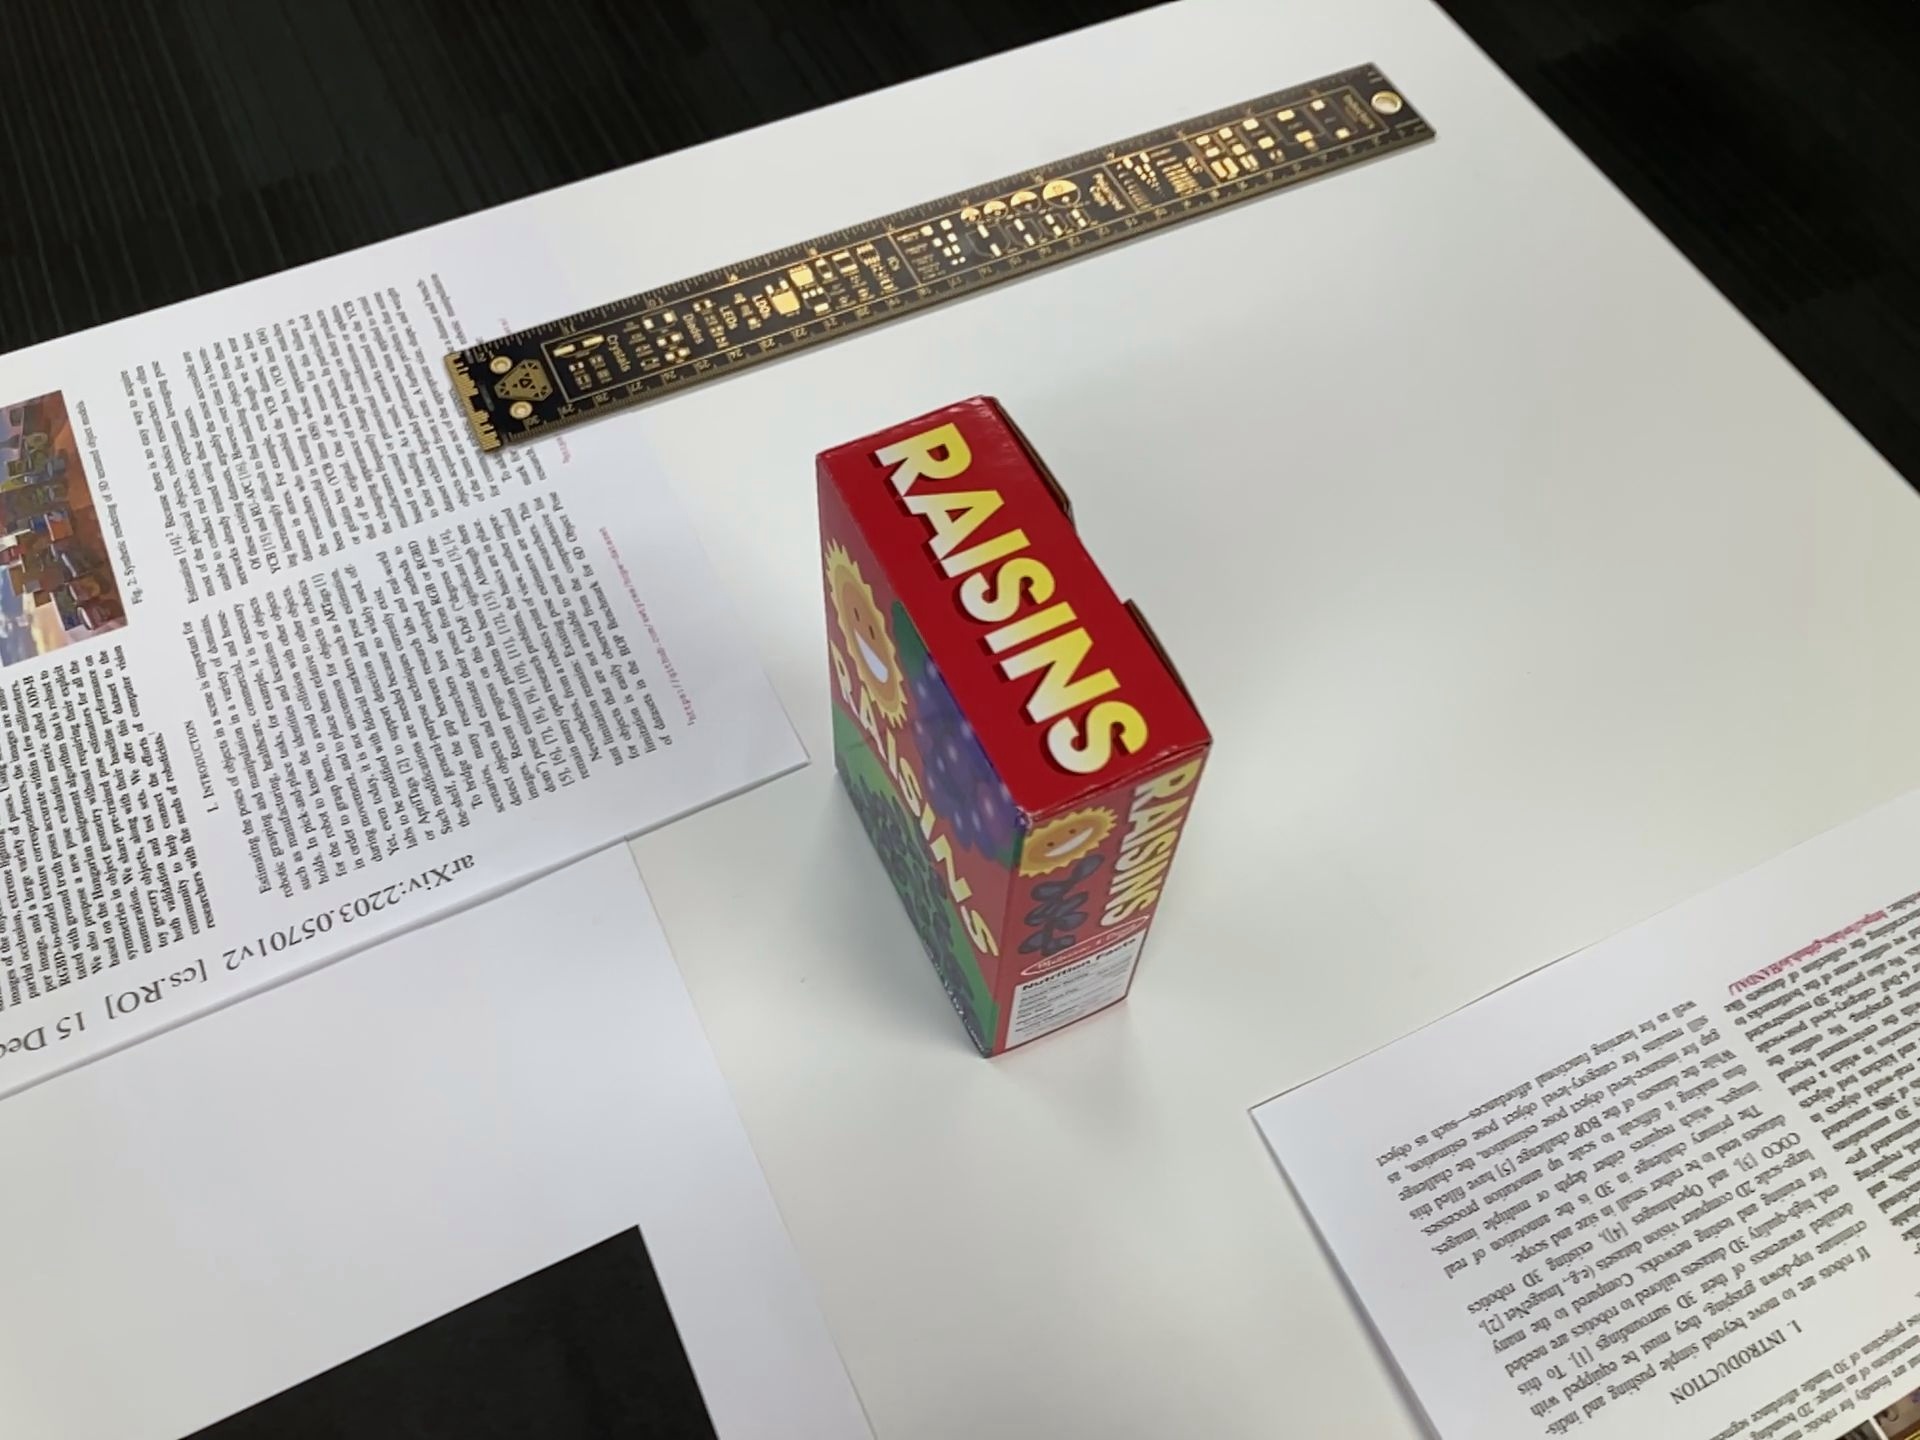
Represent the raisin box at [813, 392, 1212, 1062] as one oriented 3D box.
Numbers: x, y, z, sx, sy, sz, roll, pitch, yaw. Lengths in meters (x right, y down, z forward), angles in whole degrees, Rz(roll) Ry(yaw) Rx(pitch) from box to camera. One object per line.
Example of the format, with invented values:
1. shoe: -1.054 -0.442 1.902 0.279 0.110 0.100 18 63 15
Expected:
1. raisin box: 0.006 0.007 0.324 0.040 0.123 0.086 -22 63 -14
